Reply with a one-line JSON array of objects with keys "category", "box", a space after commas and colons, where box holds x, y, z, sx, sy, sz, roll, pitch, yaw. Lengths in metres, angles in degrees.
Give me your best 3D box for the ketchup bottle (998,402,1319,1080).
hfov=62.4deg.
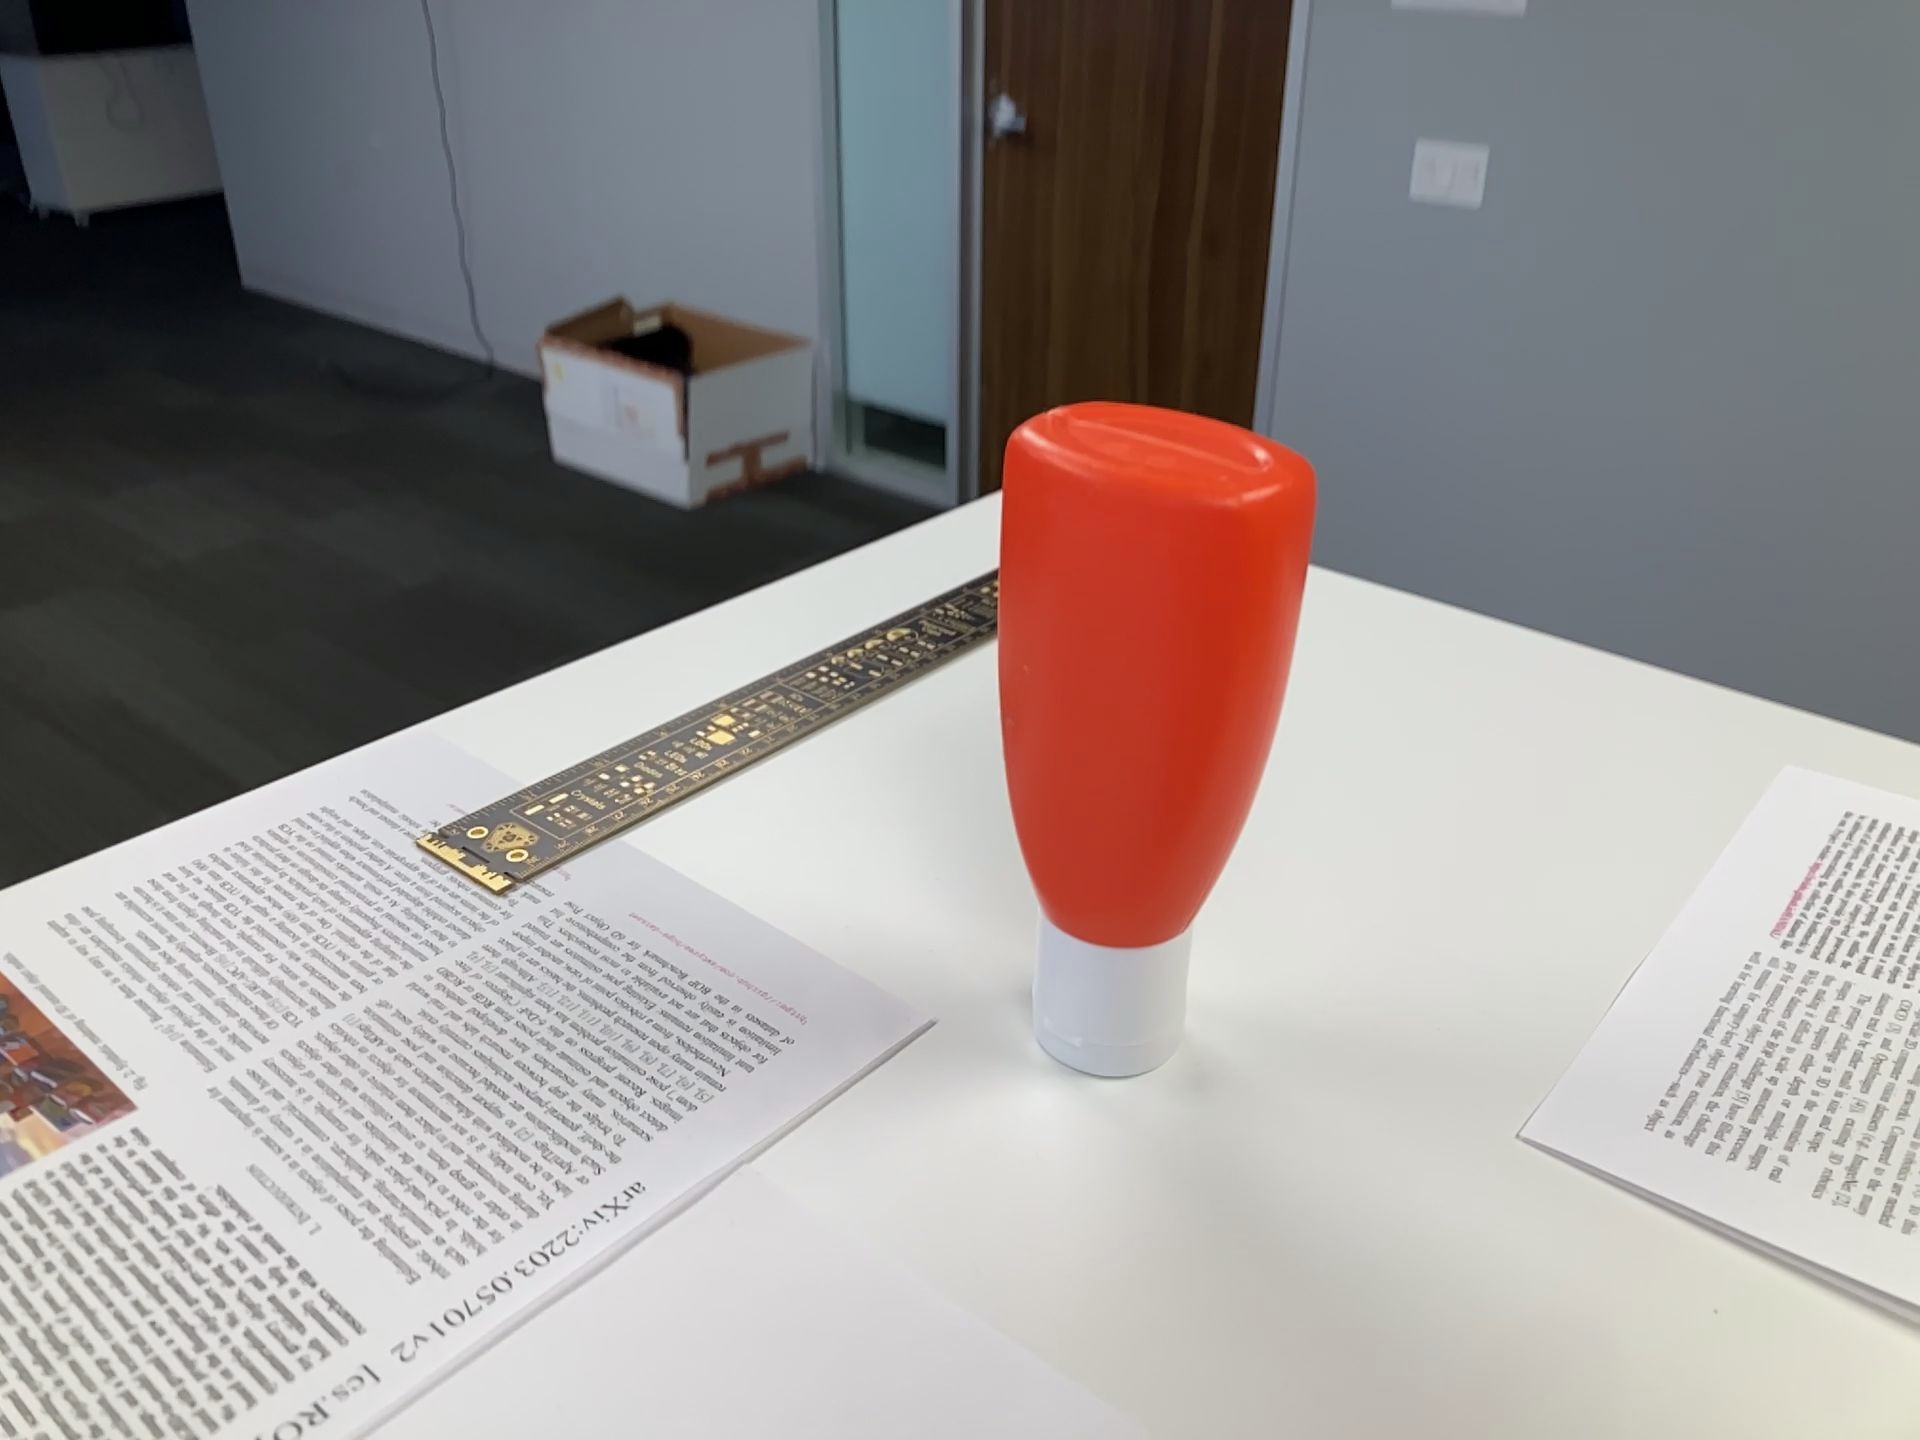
[{"category": "ketchup bottle", "box": [0.037, 0.010, 0.346, 0.065, 0.149, 0.043, 24, 35, 34]}]
